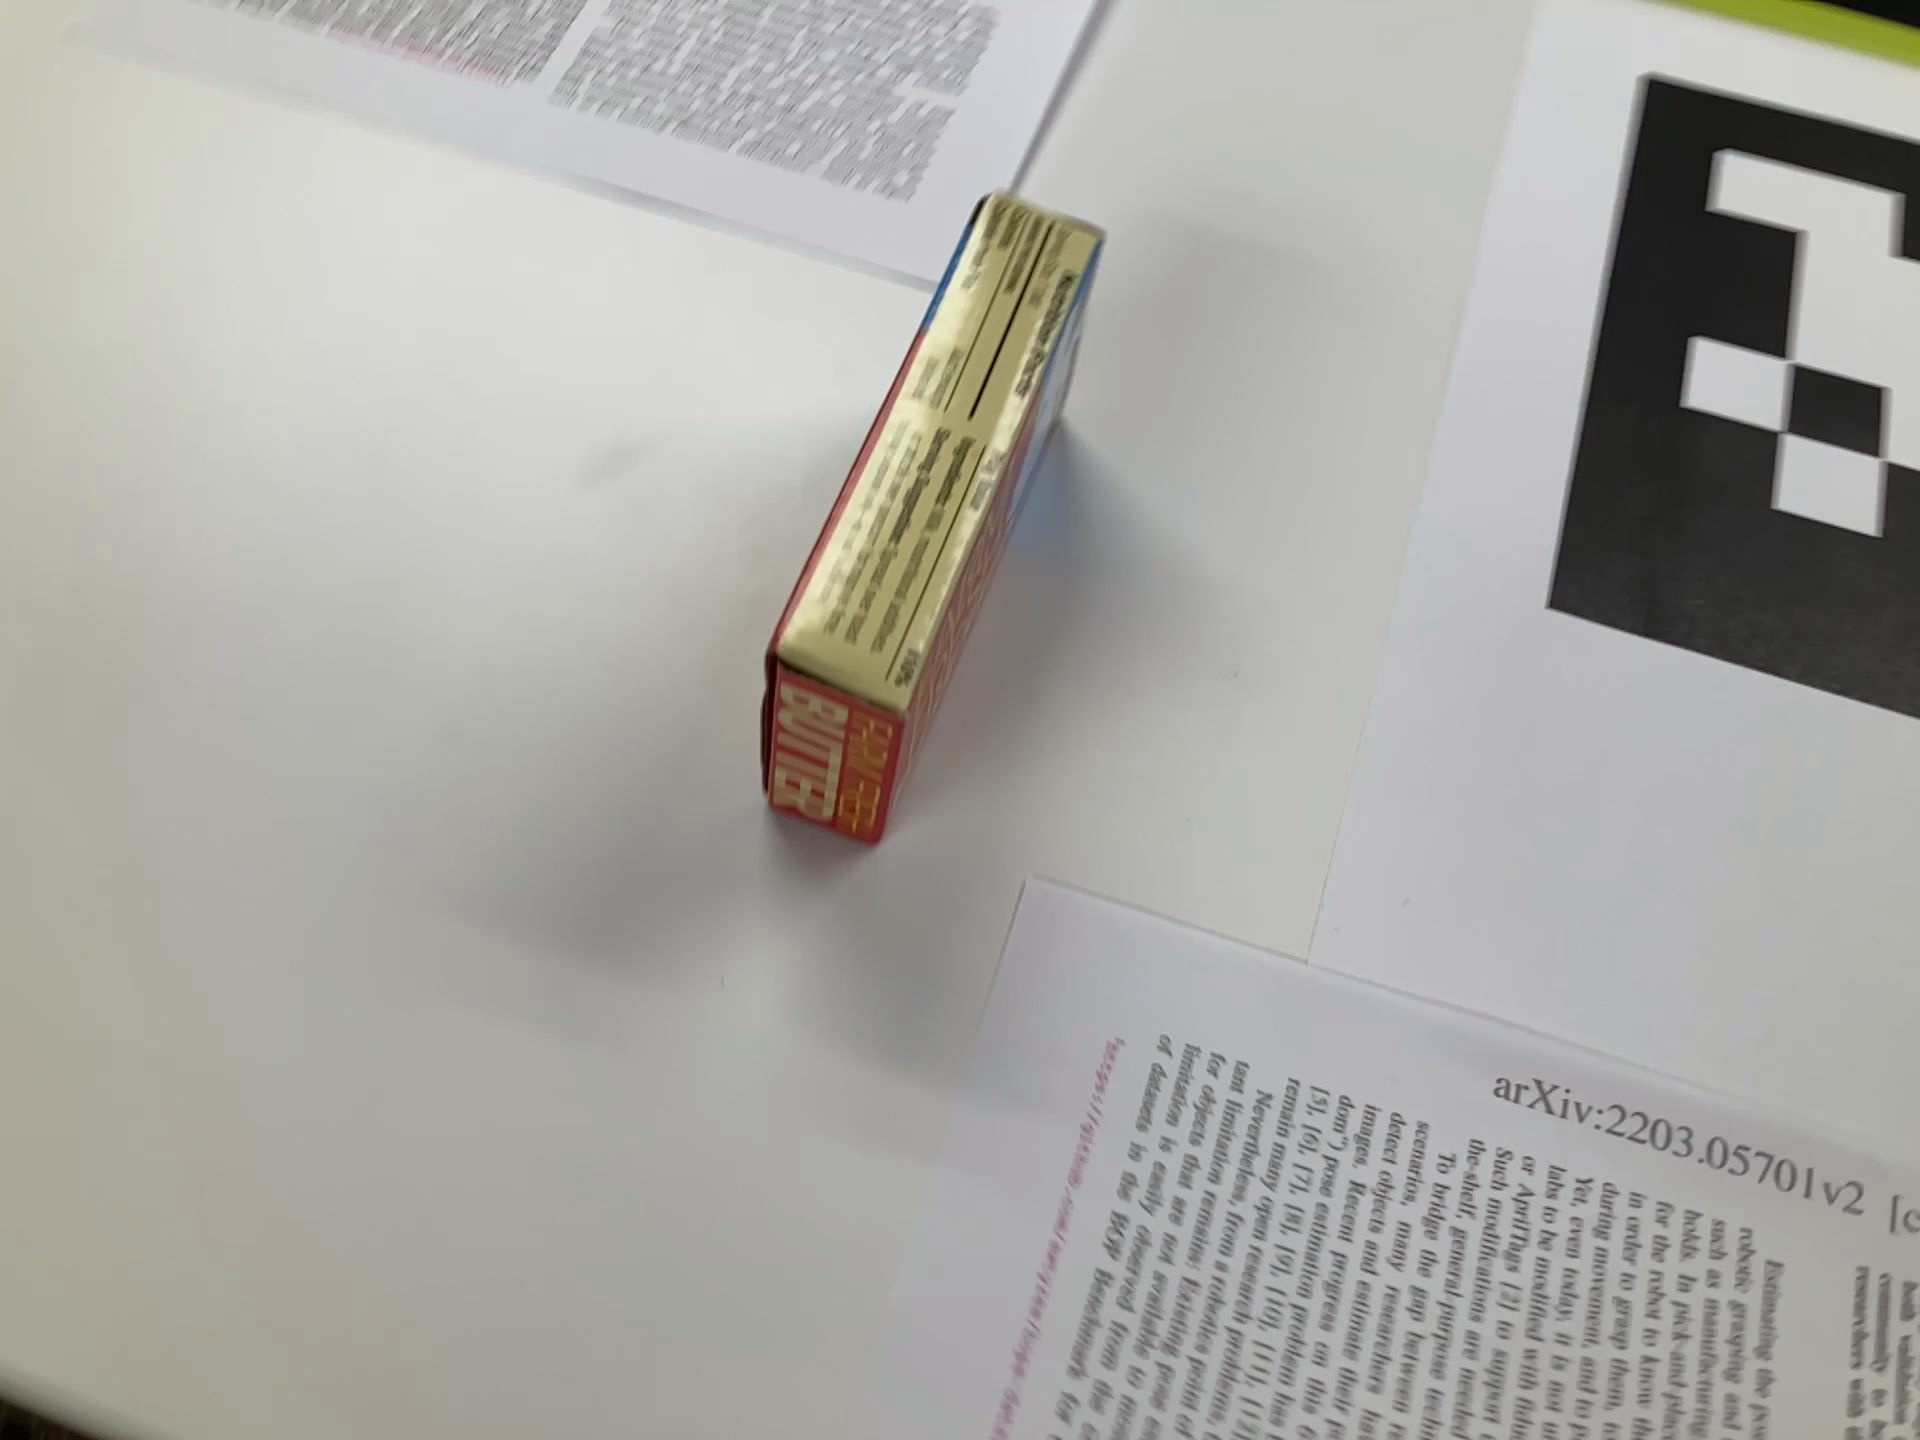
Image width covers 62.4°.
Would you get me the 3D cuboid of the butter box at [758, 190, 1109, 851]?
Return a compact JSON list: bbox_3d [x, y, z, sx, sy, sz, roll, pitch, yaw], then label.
[{"bbox_3d":[-0.005,-0.034,0.270,0.024,0.053,0.103,20,62,4],"label":"butter box"}]
